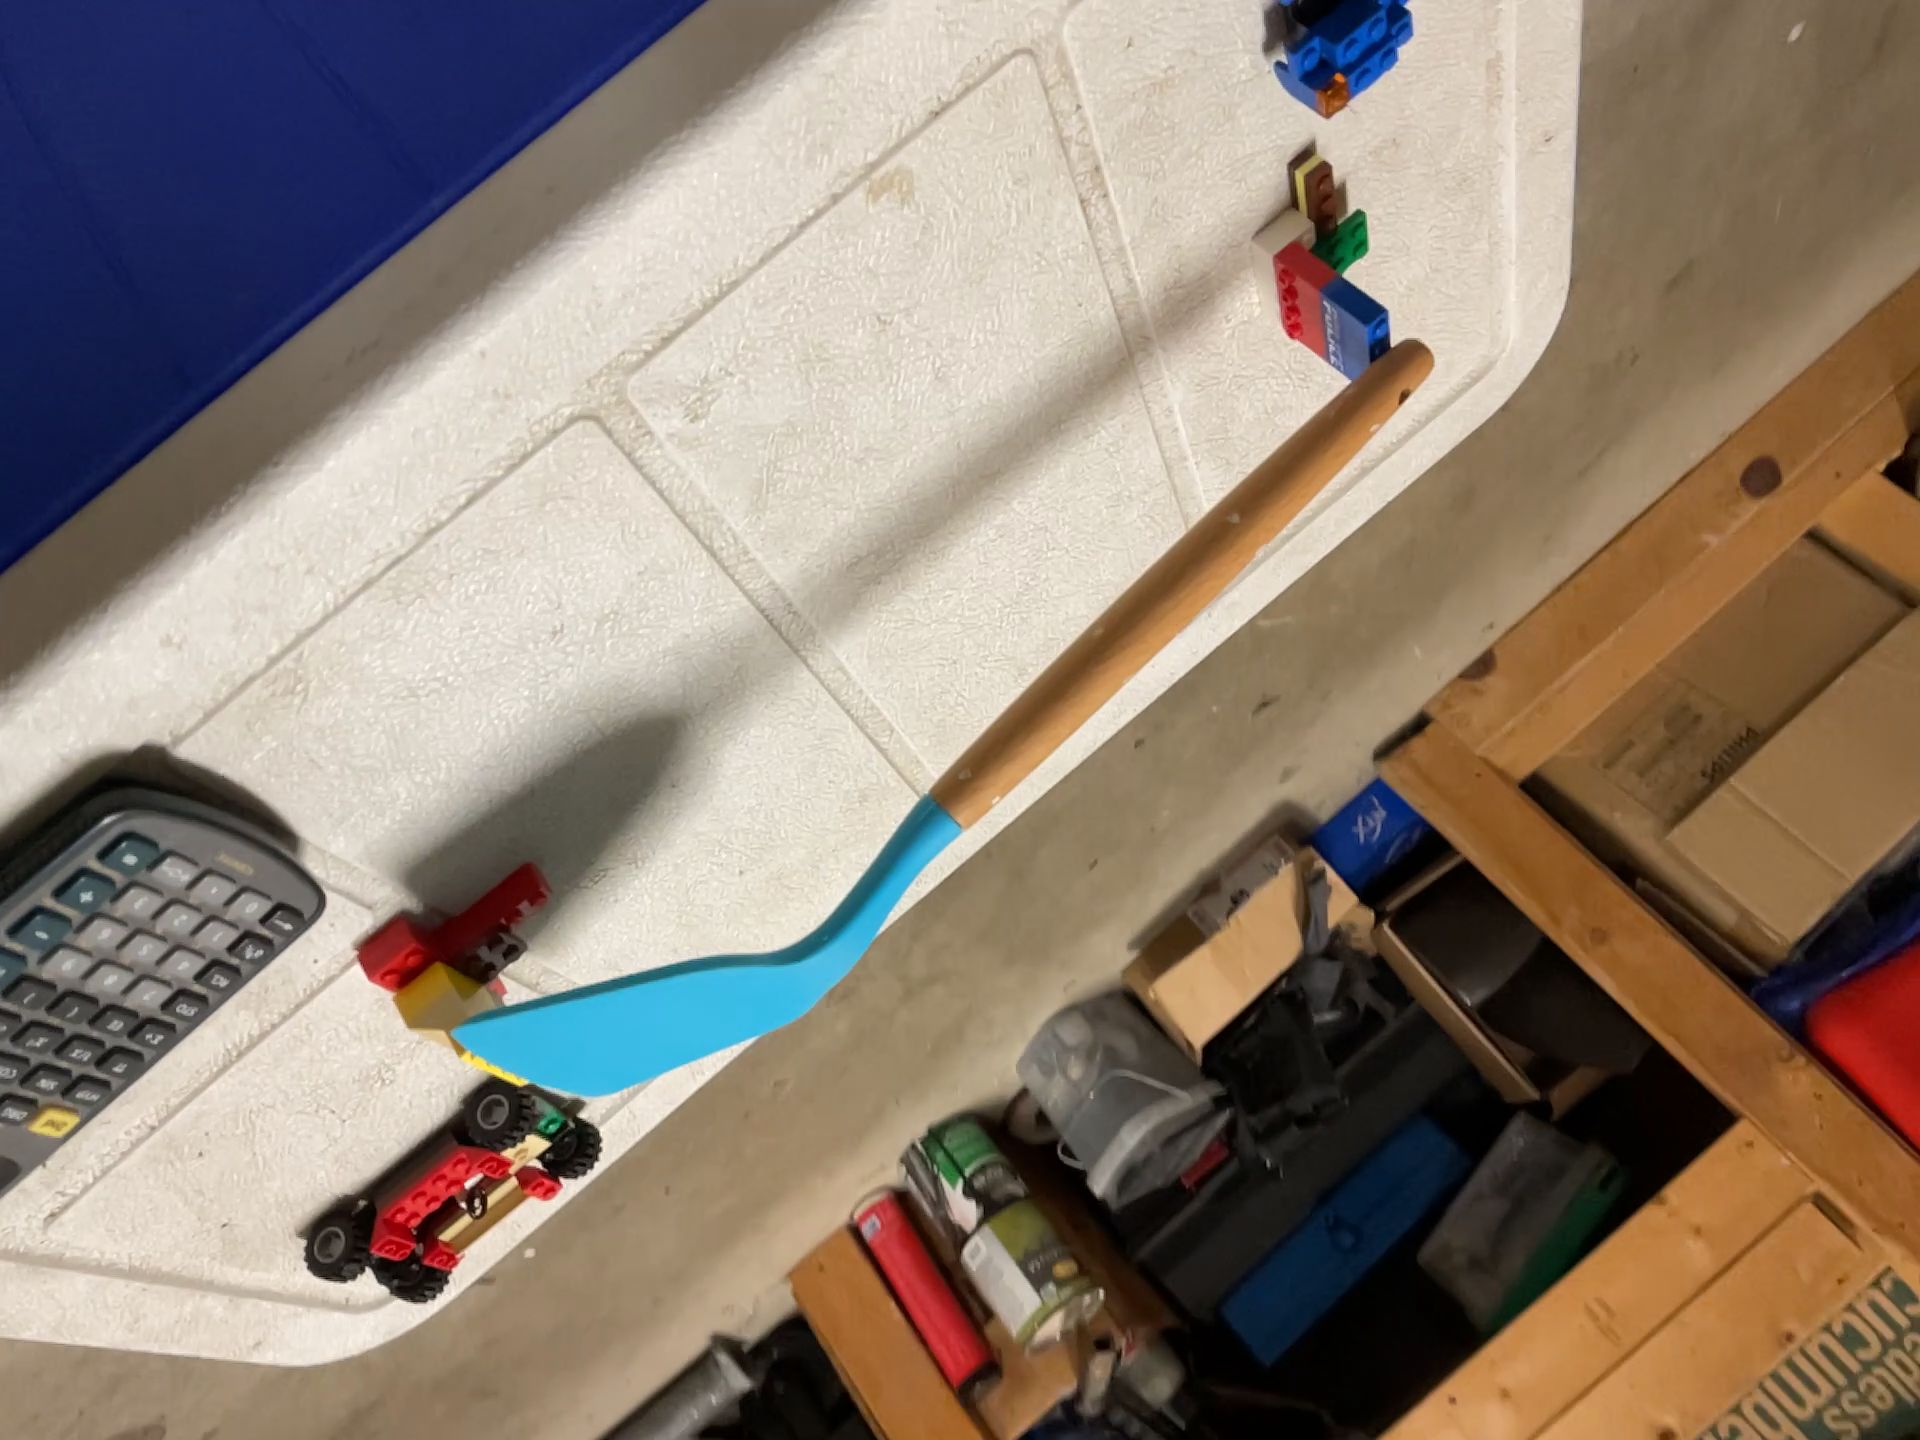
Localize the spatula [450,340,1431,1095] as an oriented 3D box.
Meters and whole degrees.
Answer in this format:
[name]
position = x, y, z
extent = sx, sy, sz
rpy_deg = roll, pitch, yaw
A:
[spatula]
position = 0.007, 0.000, 0.440
extent = 0.317, 0.044, 0.082
rpy_deg = -43, 149, -5
